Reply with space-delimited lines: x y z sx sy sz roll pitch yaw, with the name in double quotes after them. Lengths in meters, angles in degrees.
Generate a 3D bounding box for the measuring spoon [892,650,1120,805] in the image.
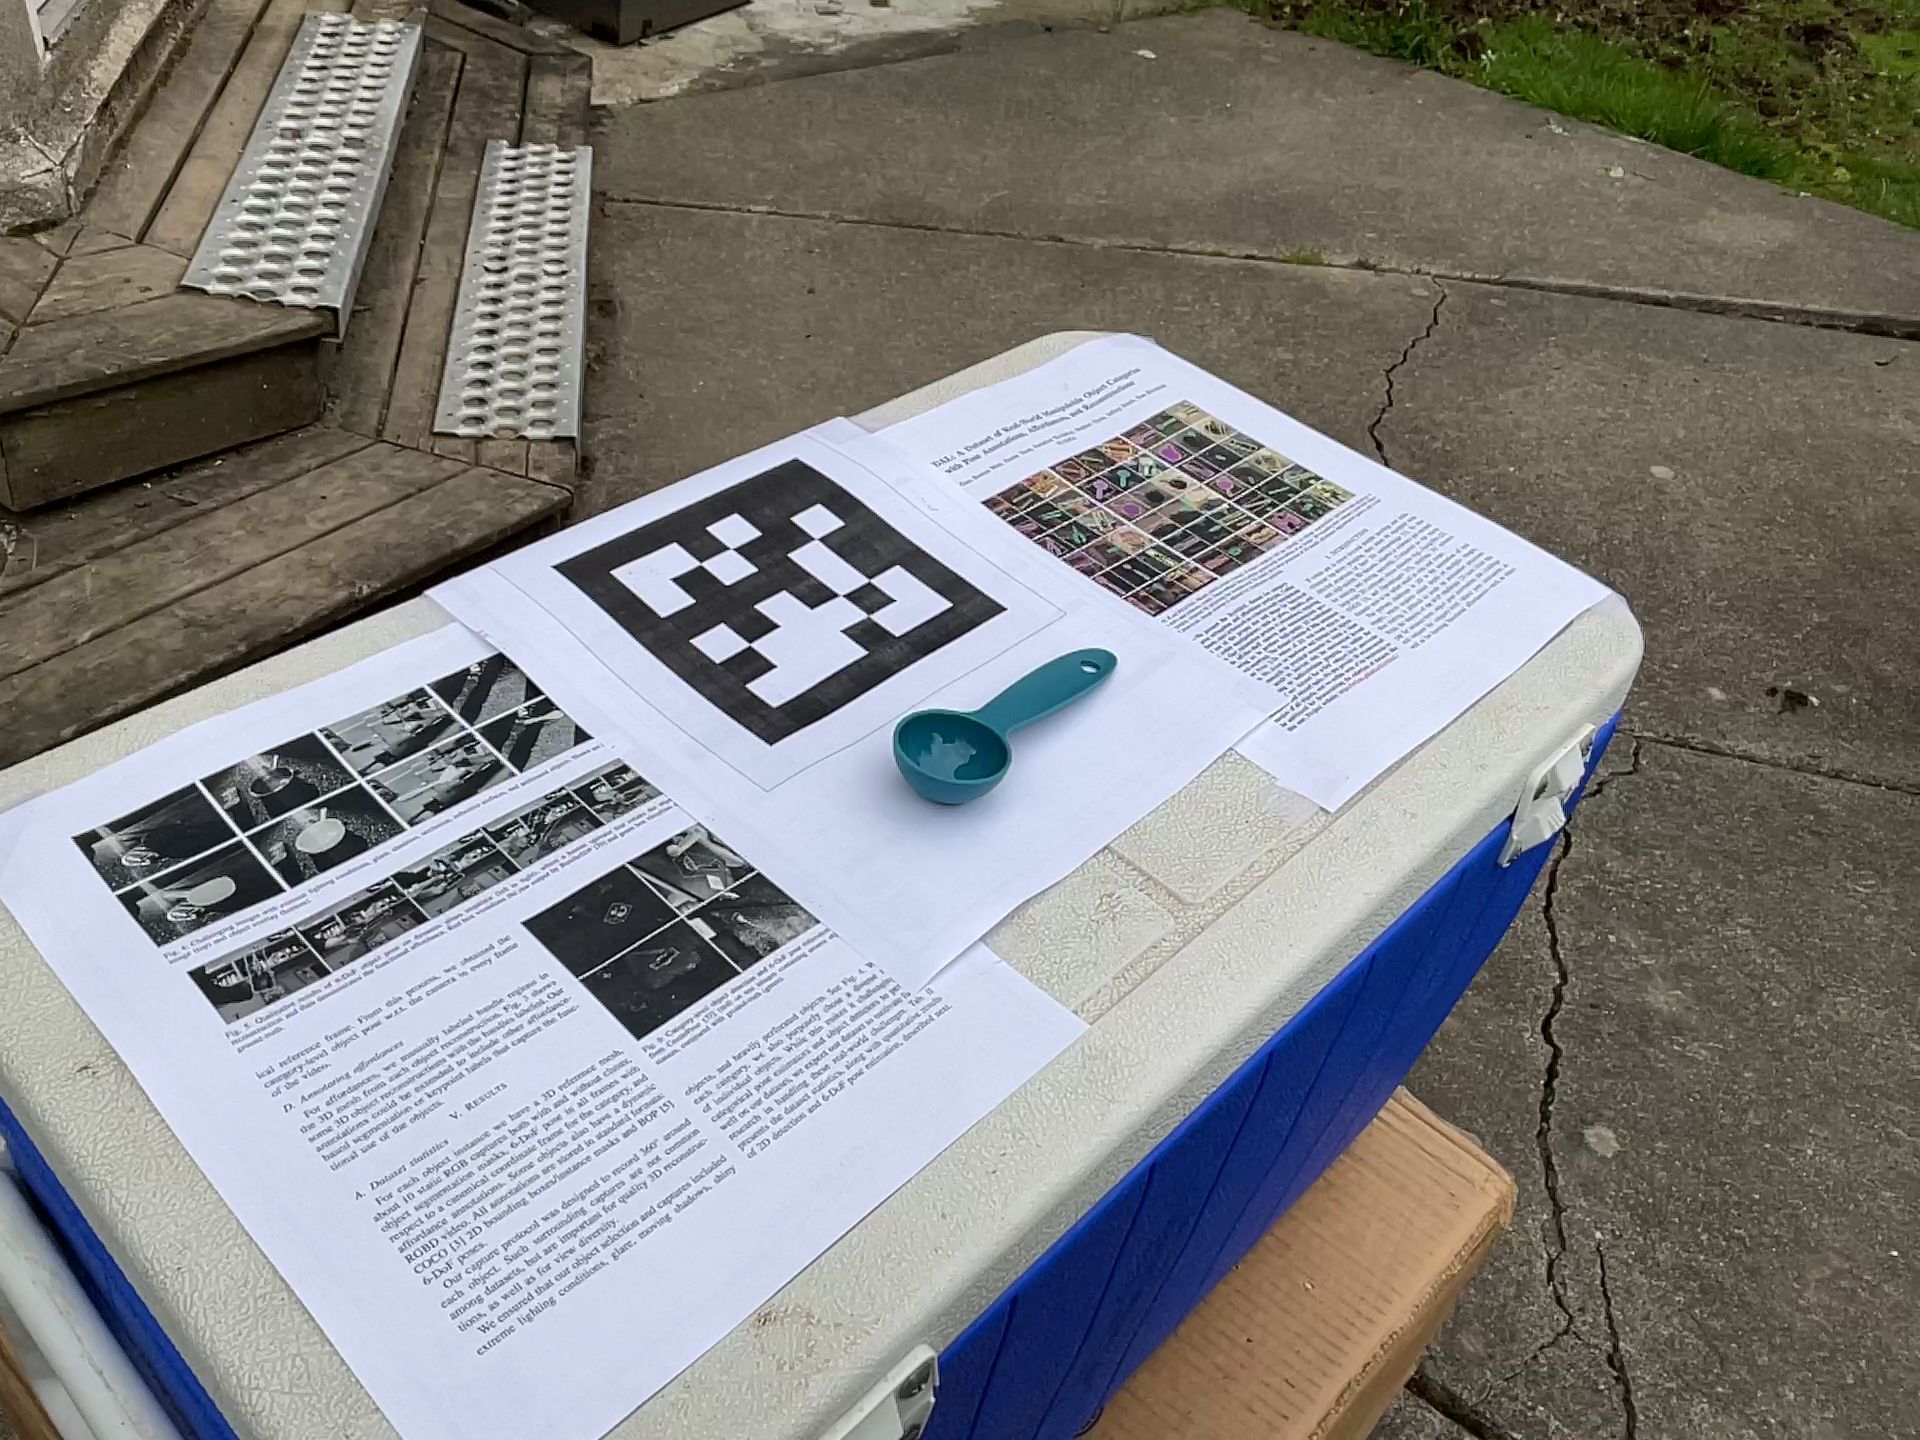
0.021 0.002 0.593 0.042 0.021 0.129 32 36 24 "measuring spoon"
